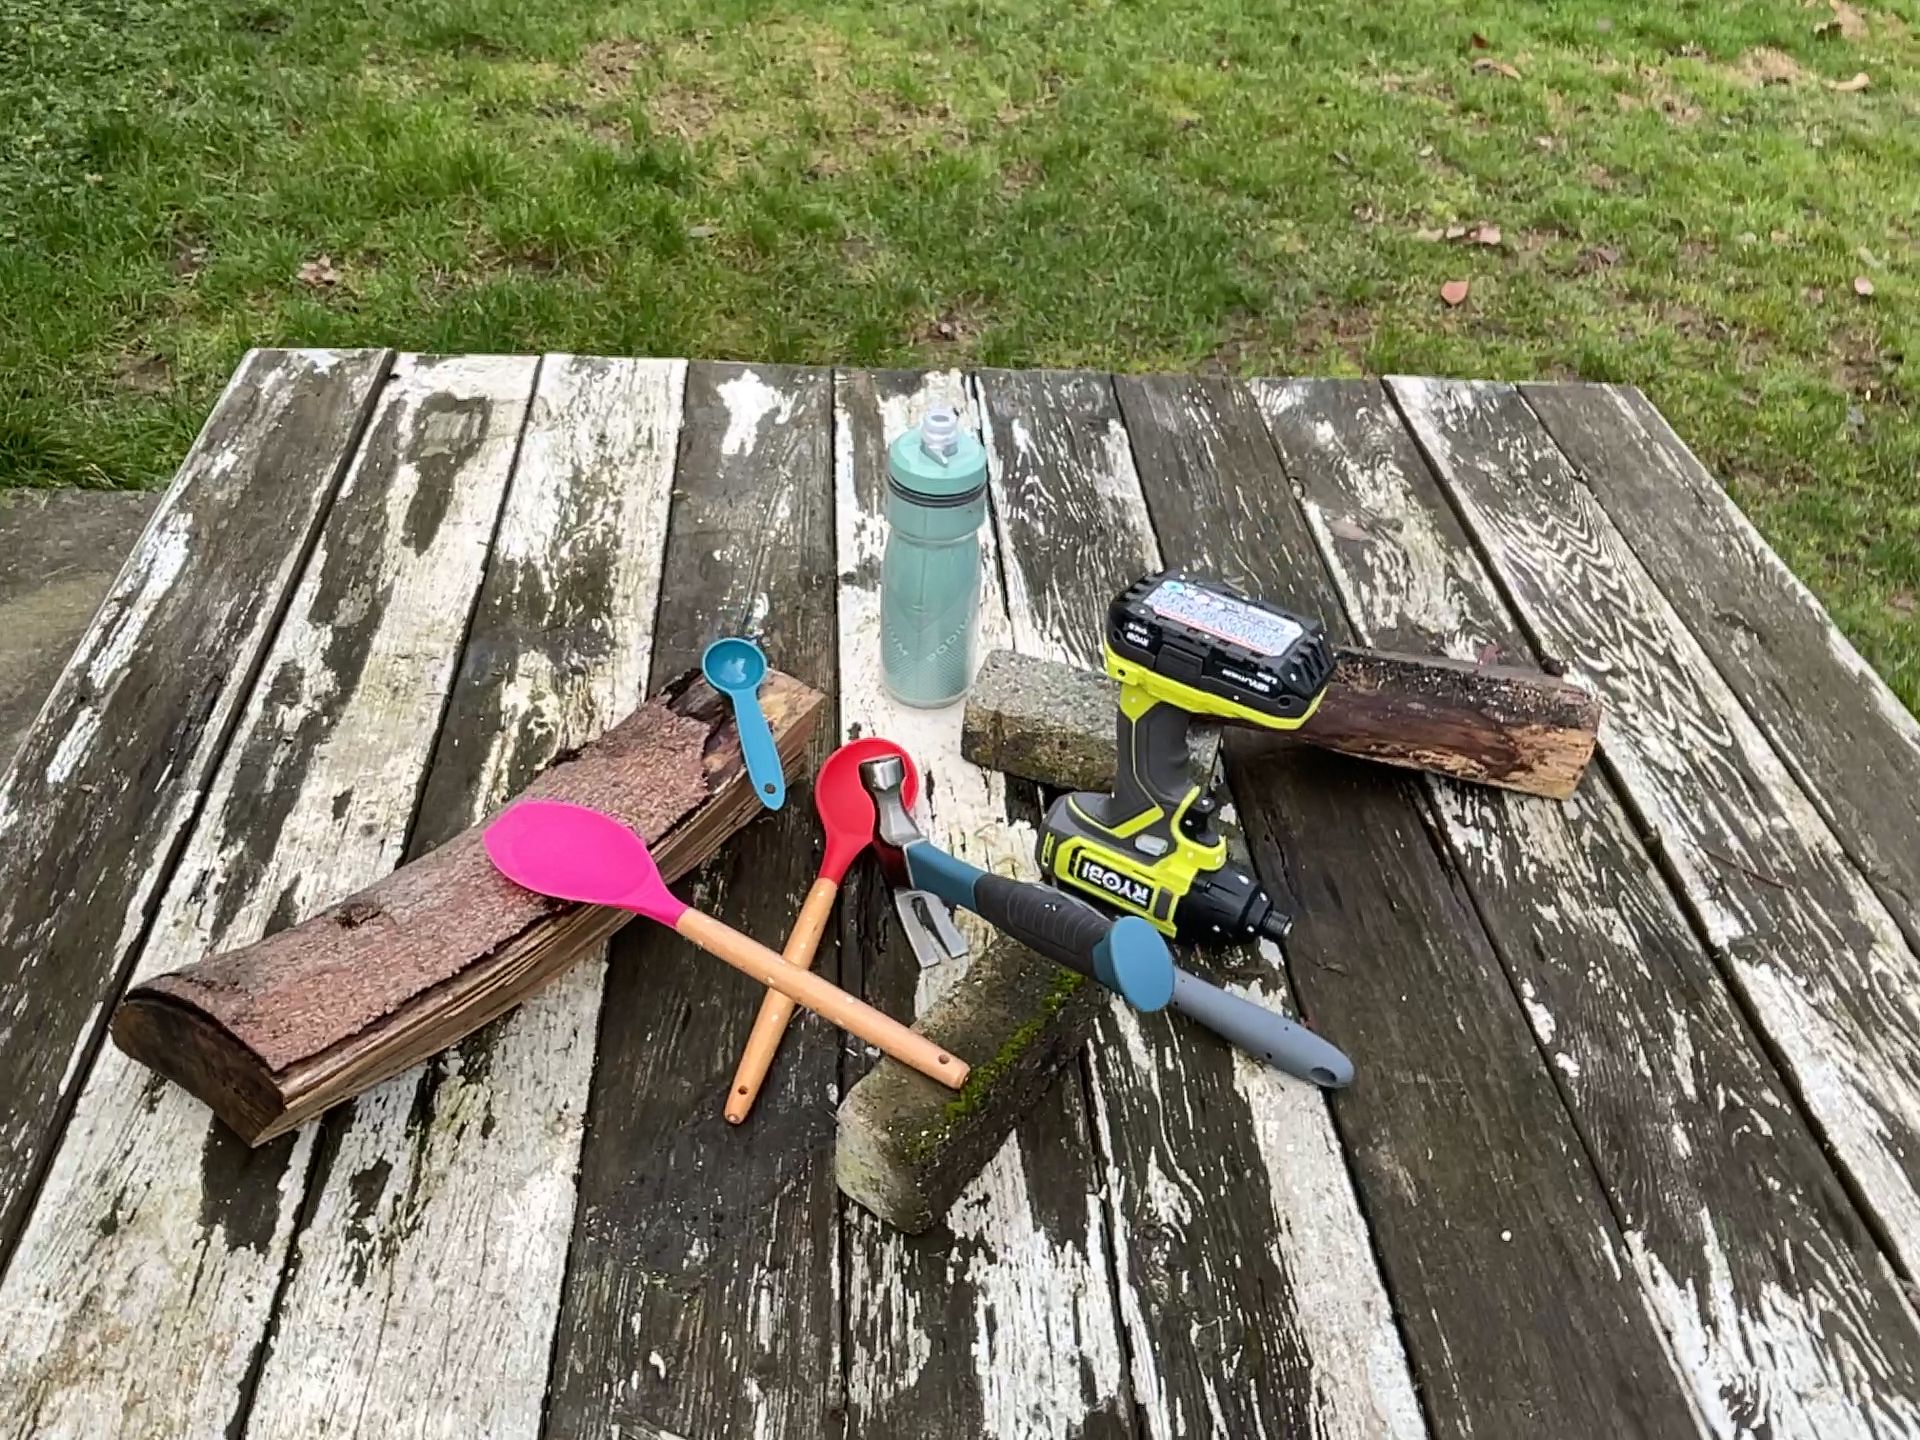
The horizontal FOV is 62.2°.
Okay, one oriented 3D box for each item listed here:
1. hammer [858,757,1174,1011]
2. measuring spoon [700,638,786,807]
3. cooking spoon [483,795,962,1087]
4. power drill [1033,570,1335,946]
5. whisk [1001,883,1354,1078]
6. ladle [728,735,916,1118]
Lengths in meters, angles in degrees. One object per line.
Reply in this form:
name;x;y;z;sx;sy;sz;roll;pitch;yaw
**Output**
hammer;0.022;0.102;0.902;0.033;0.128;0.331;-17;12;-21
measuring spoon;-0.138;0.005;1.042;0.042;0.021;0.129;-12;64;-19
cooking spoon;-0.137;0.122;0.893;0.319;0.017;0.069;26;43;19
power drill;0.147;0.034;0.999;0.171;0.223;0.080;23;35;20
whisk;0.127;0.159;0.974;0.239;0.055;0.055;23;51;17
ladle;-0.092;0.123;1.023;0.069;0.031;0.316;12;42;6
